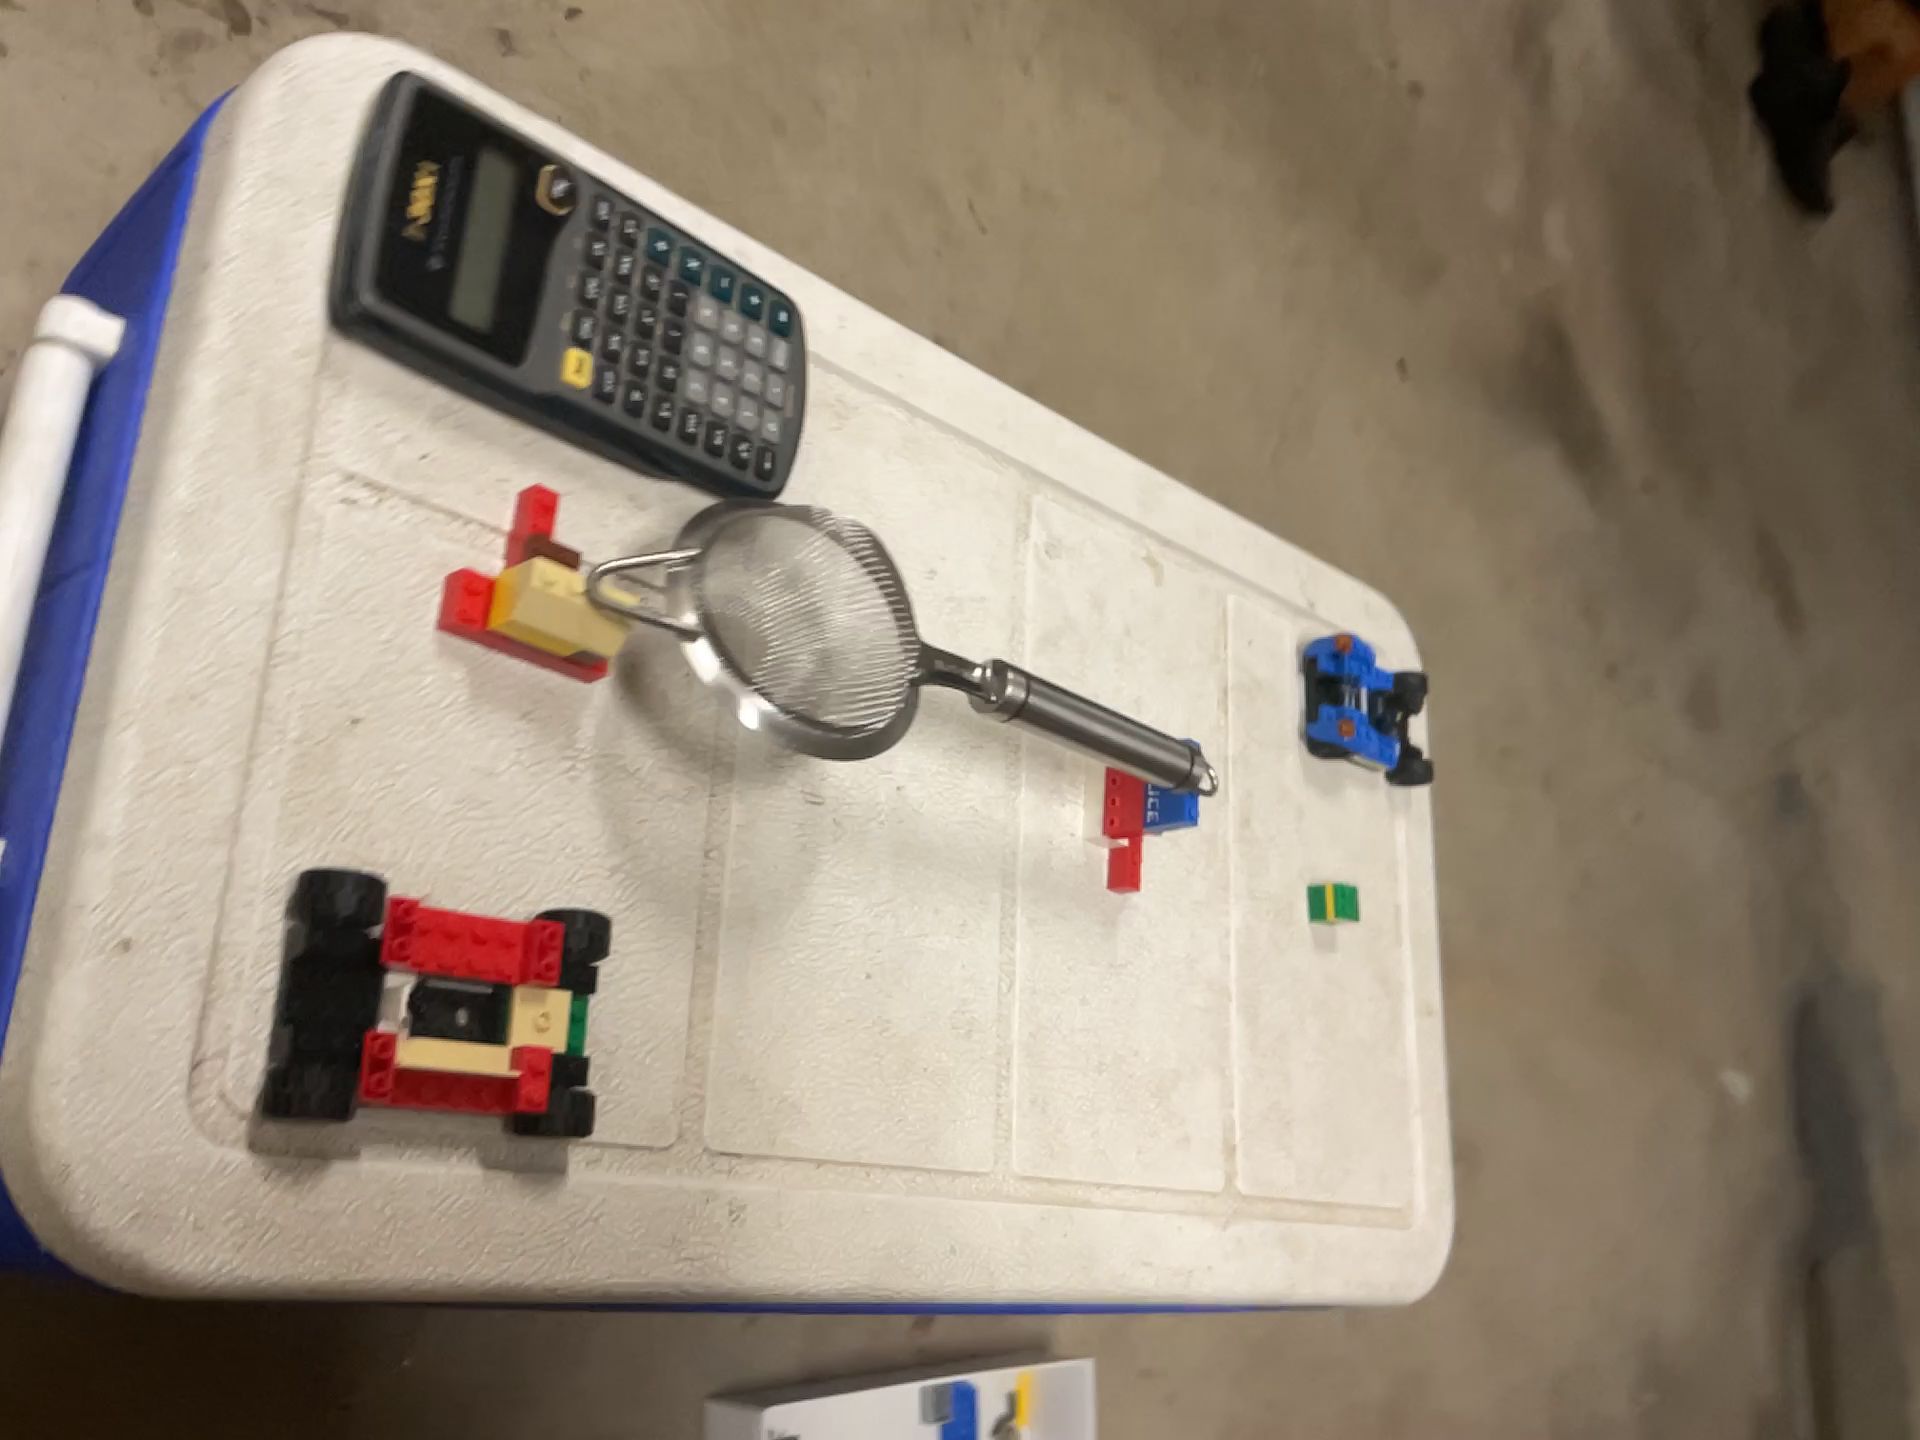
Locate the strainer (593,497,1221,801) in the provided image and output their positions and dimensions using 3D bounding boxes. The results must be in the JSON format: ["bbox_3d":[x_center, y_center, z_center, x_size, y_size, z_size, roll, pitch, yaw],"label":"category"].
[{"bbox_3d":[0.008,-0.013,0.496,0.258,0.050,0.087,22,48,-43],"label":"strainer"}]
